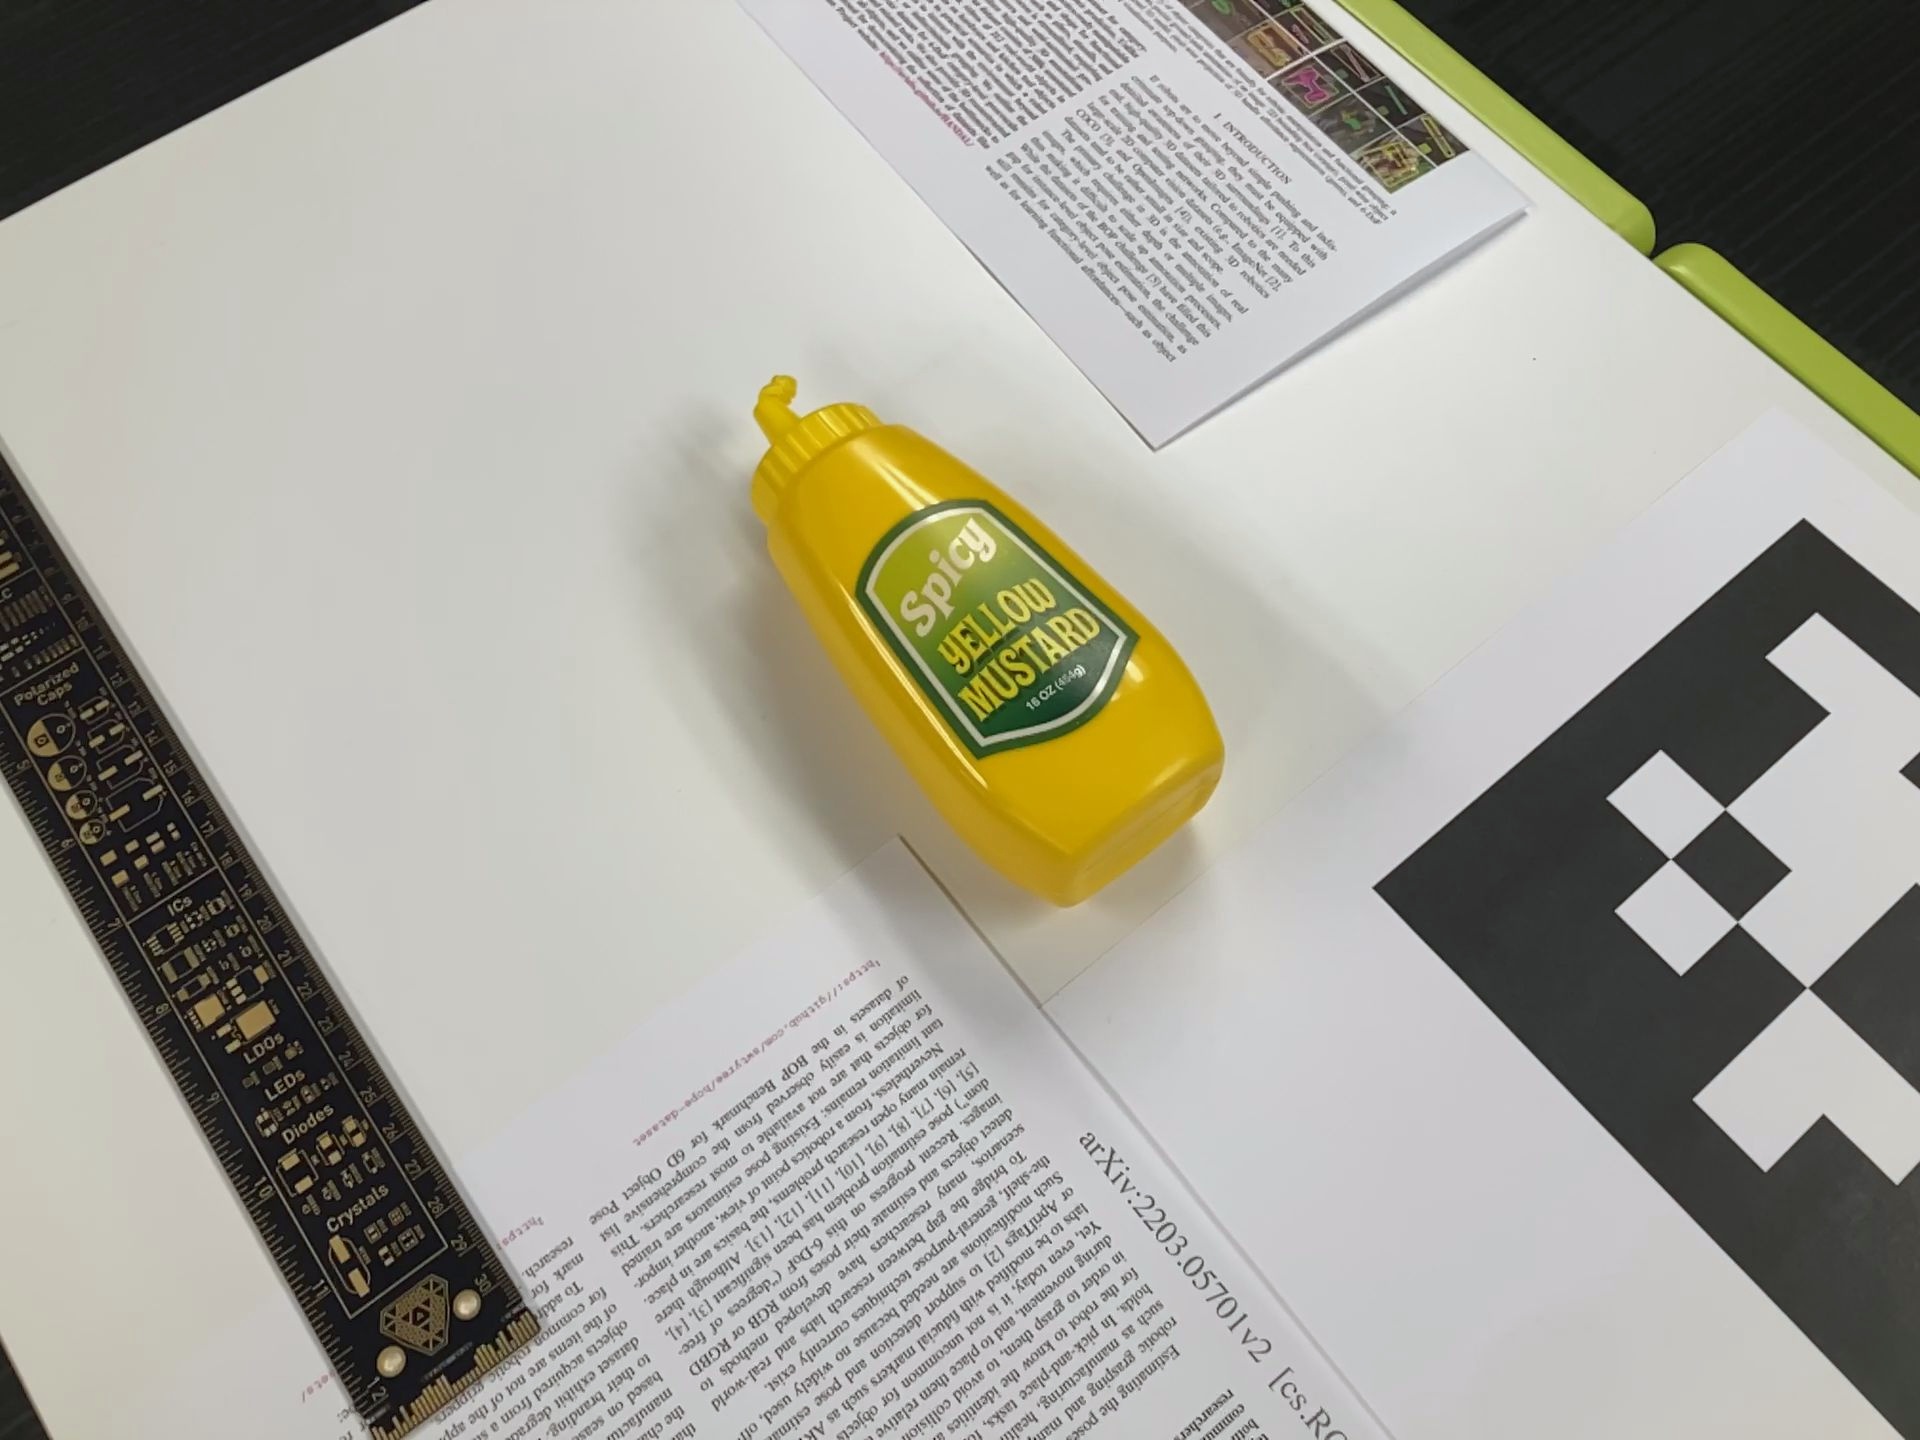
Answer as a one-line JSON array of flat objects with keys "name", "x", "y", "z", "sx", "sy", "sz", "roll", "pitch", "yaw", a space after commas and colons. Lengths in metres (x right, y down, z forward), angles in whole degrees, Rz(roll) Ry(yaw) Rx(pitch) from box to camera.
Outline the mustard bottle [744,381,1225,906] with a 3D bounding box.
[{"name": "mustard bottle", "x": -0.008, "y": -0.031, "z": 0.384, "sx": 0.065, "sy": 0.049, "sz": 0.160, "roll": -37, "pitch": 70, "yaw": -16}]
